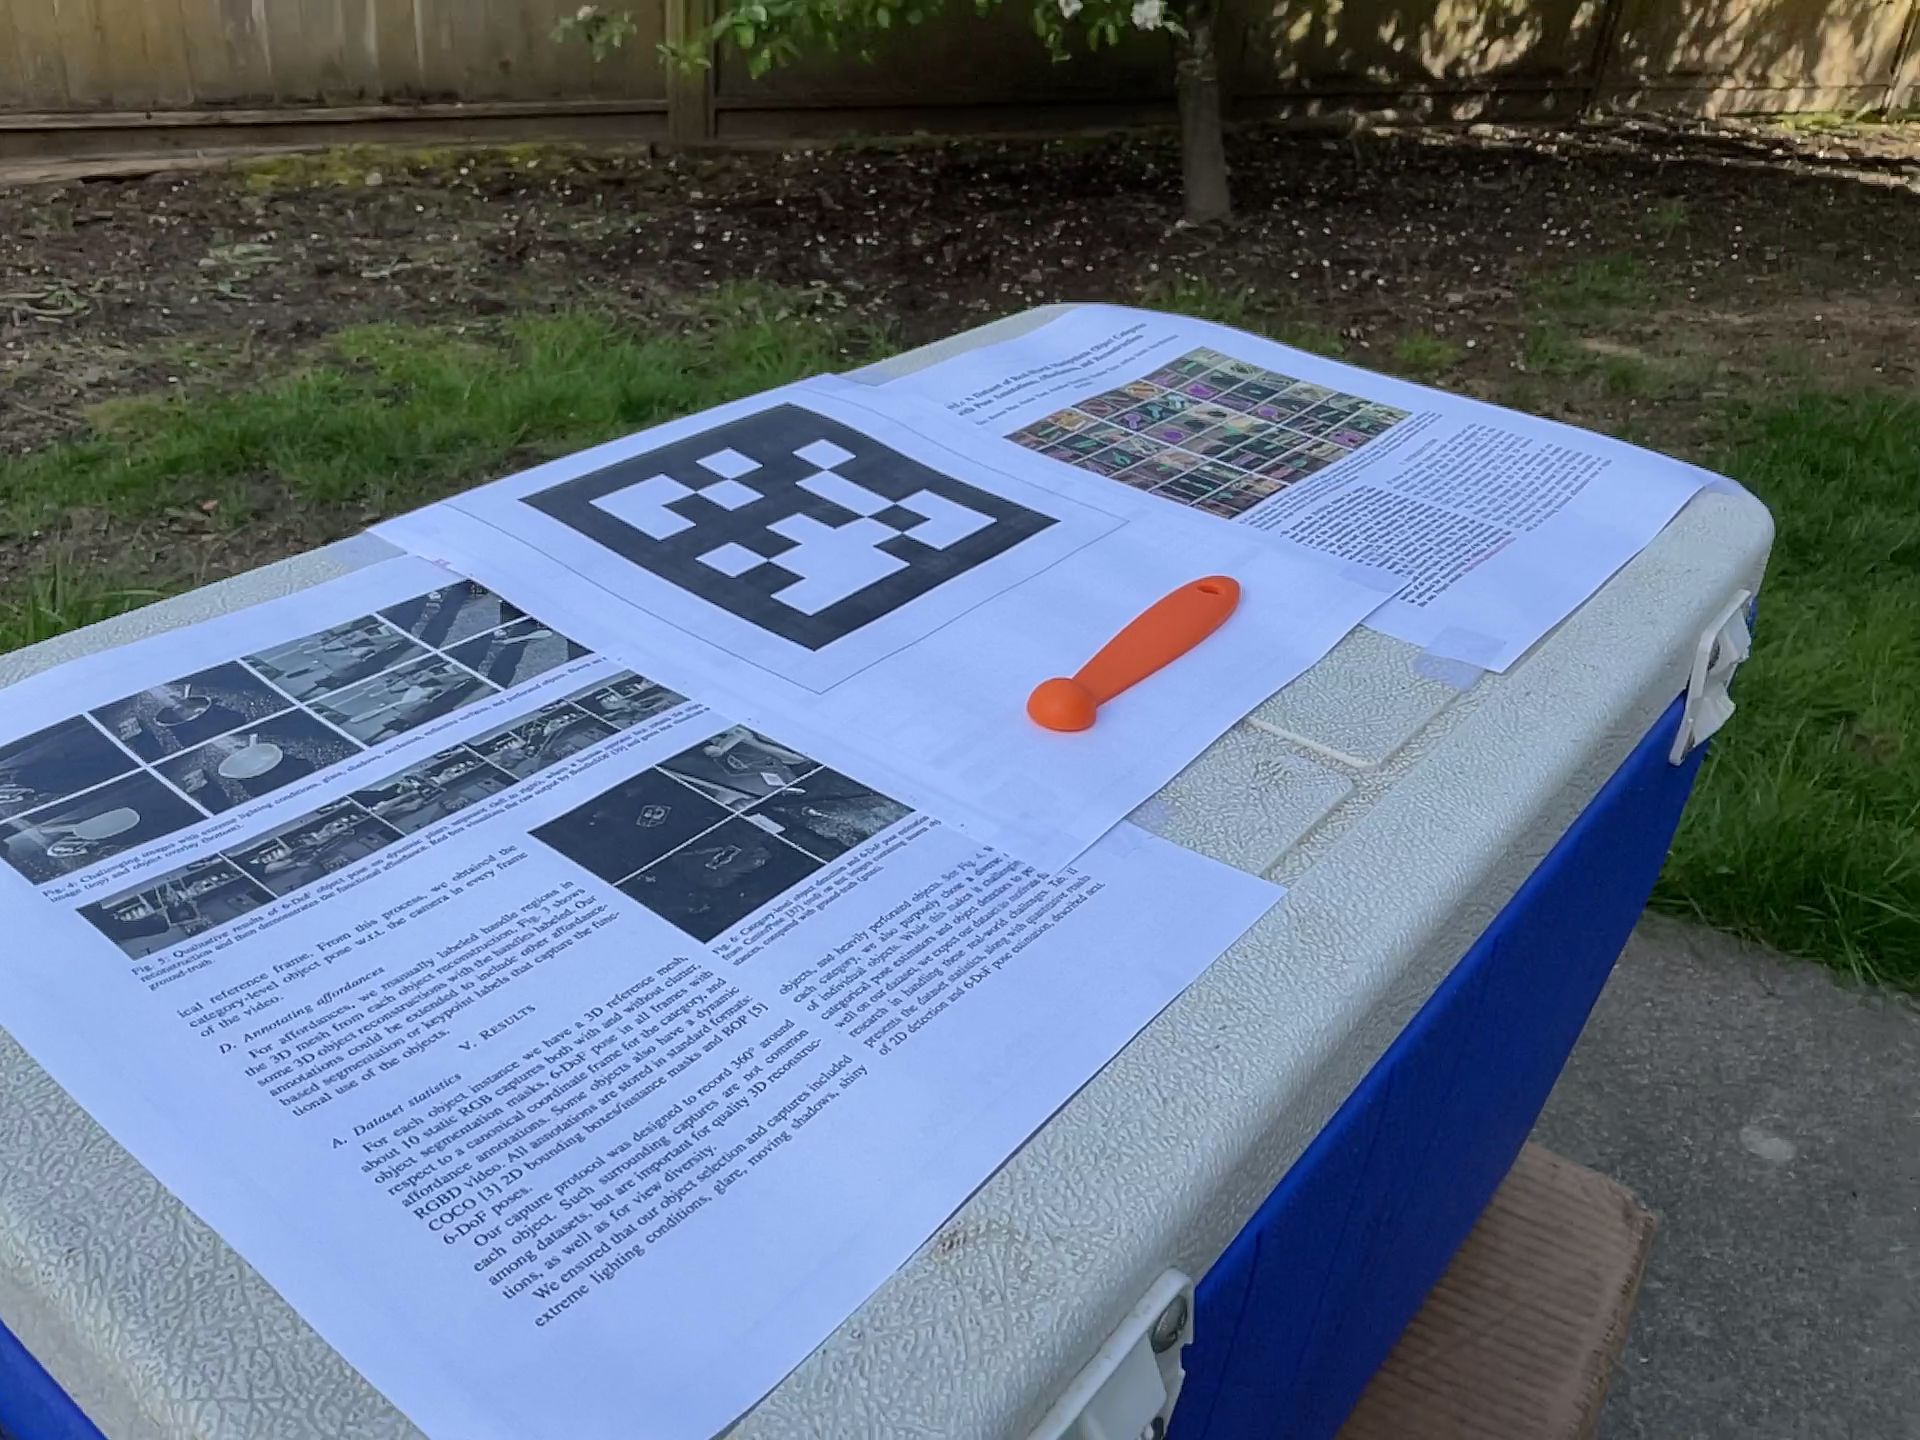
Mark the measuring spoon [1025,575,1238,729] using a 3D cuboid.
[{"bbox_3d":[0.055,-0.025,0.476,0.021,0.011,0.117,27,36,23],"label":"measuring spoon"}]
